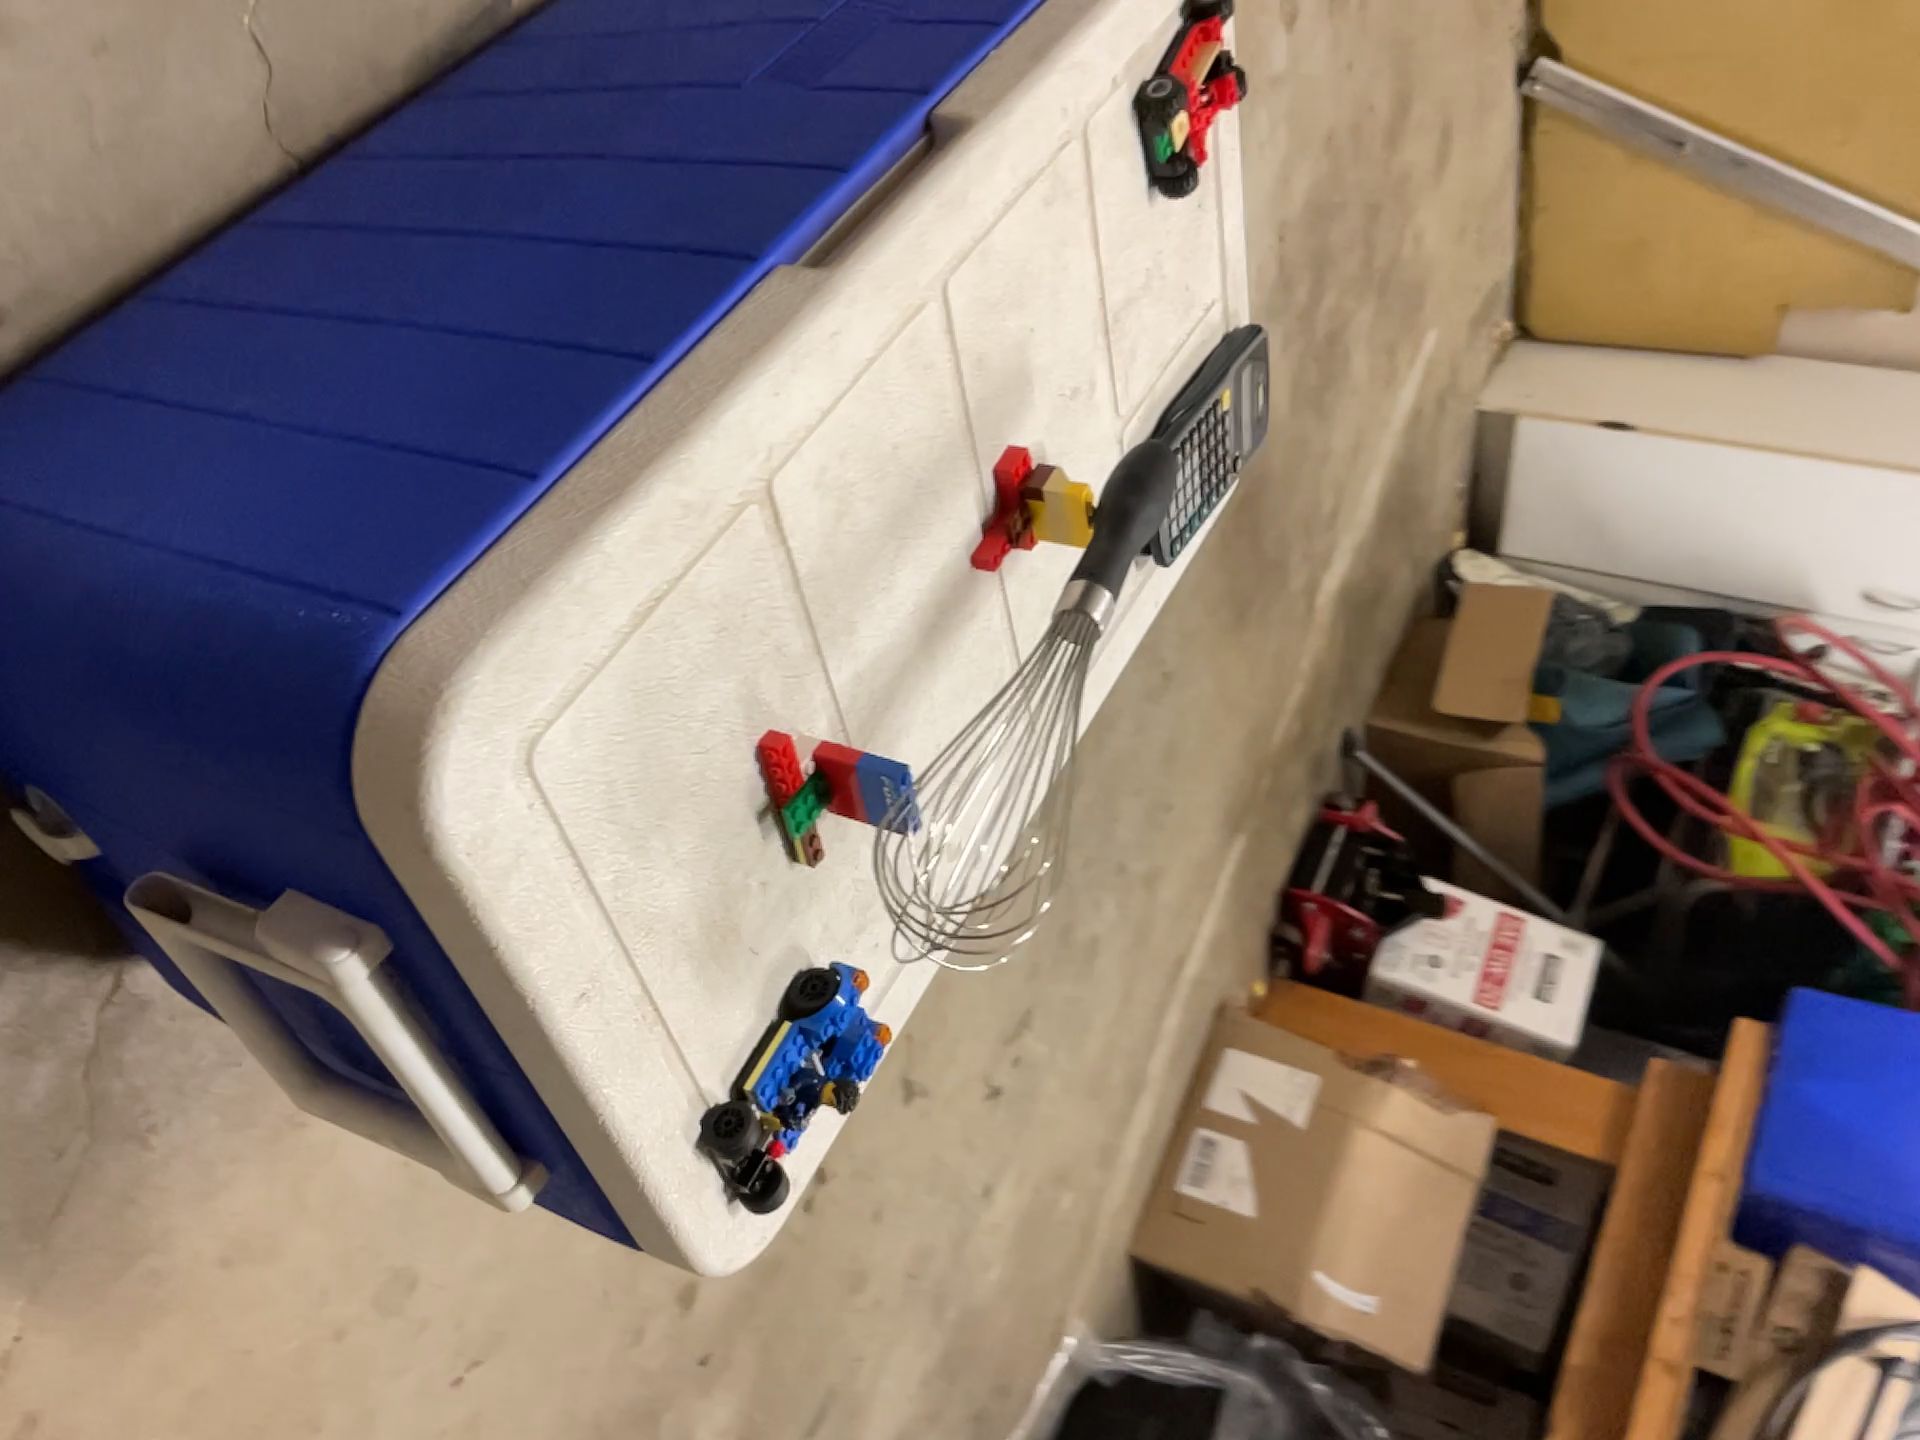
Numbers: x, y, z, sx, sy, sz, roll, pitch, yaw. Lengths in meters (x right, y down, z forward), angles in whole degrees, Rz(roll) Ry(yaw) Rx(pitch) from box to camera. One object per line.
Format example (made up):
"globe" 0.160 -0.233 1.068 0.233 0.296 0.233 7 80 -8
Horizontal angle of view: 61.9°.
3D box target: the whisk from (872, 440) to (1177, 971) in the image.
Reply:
"whisk" 0.038 -0.020 0.627 0.285 0.070 0.070 -63 147 -37
